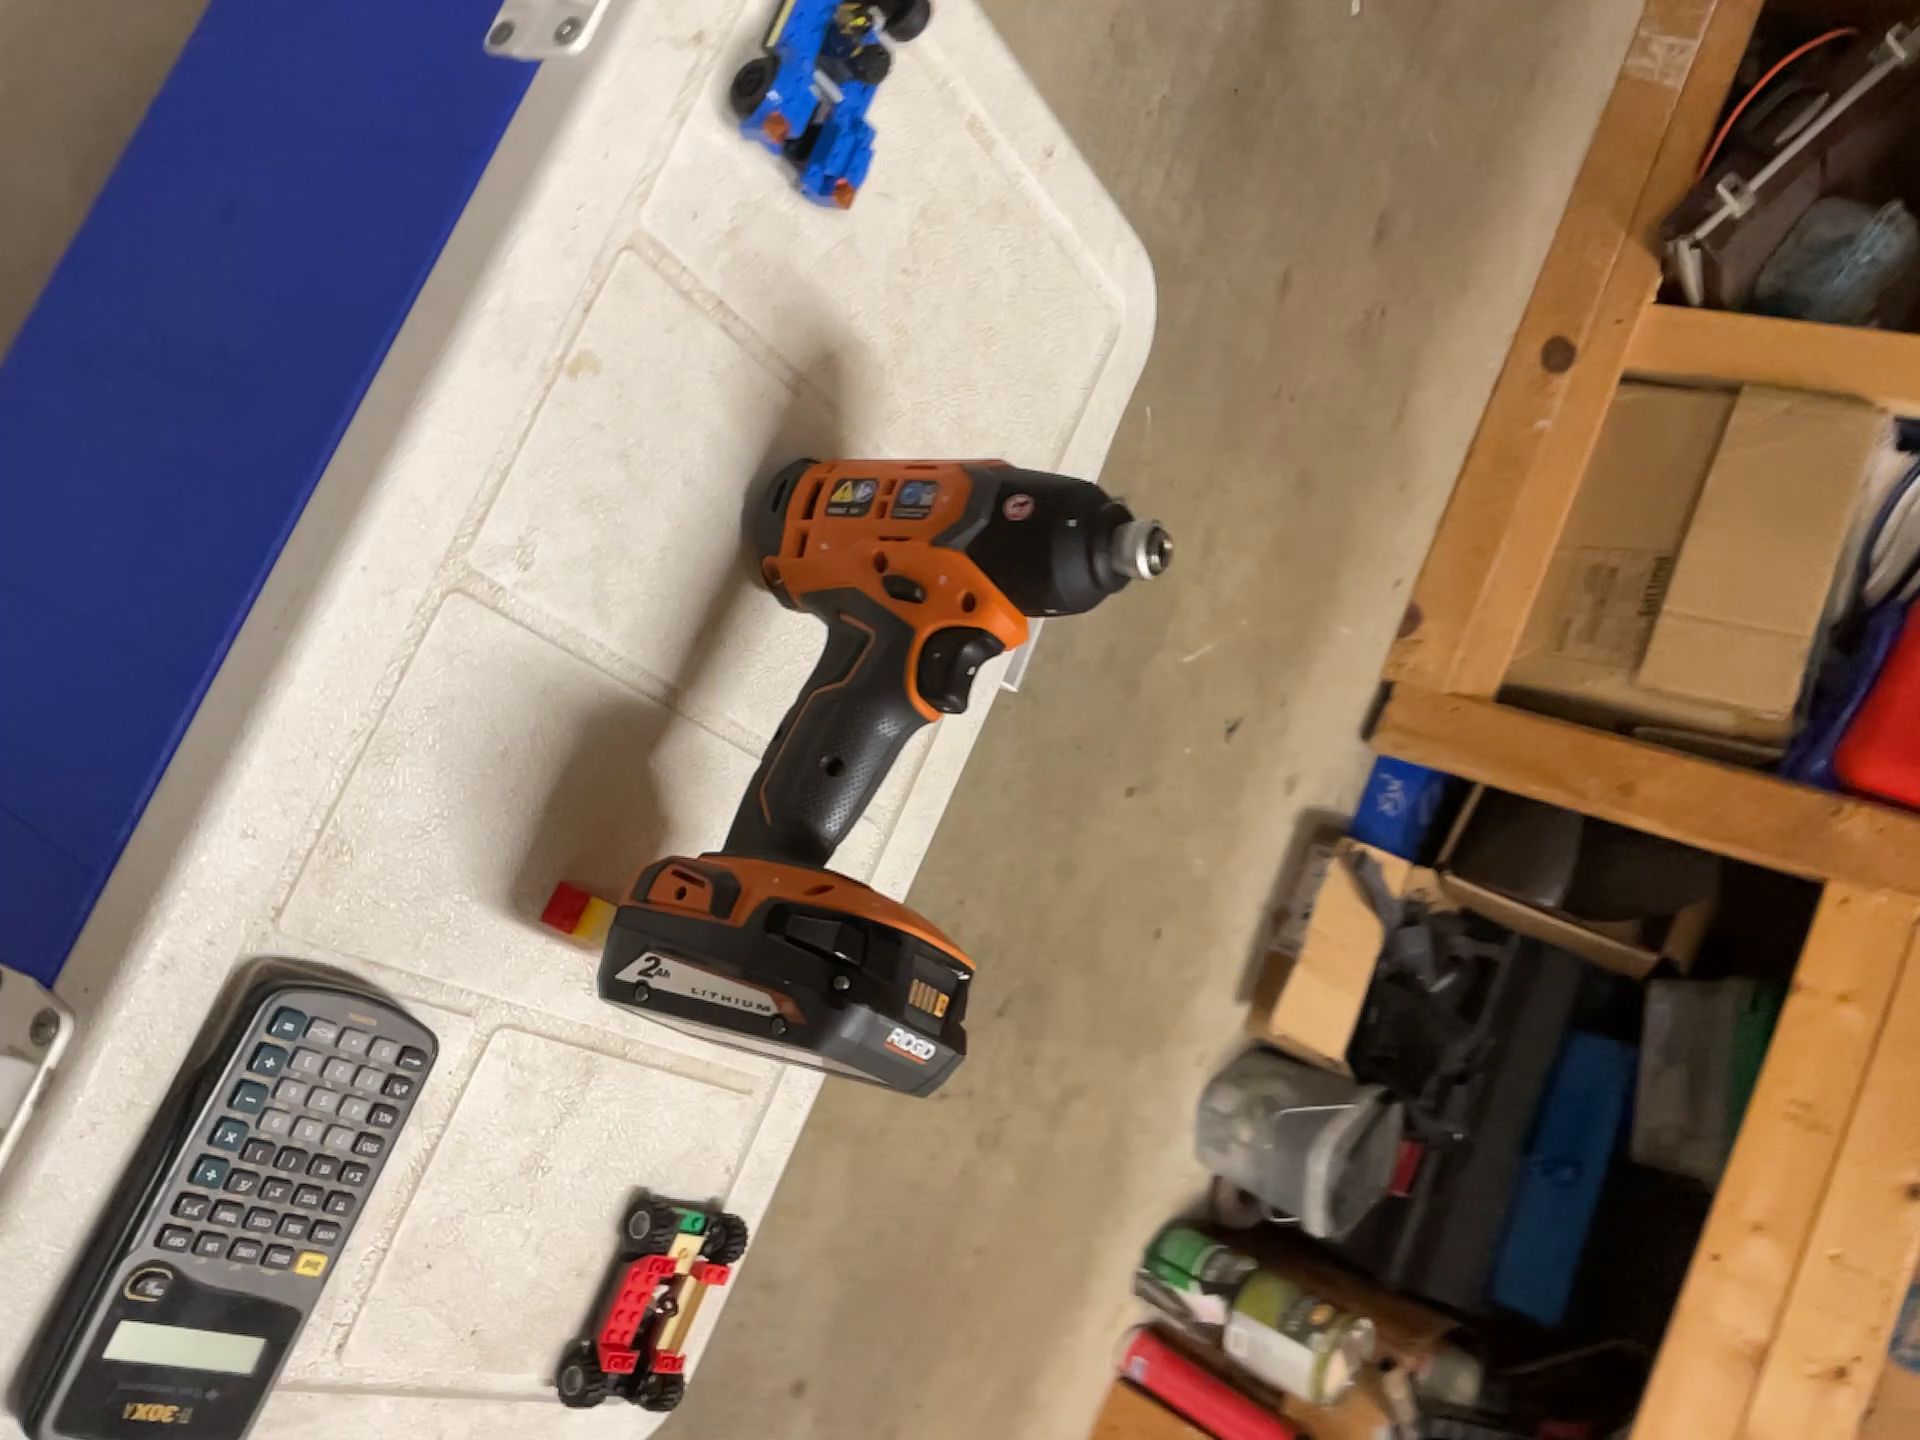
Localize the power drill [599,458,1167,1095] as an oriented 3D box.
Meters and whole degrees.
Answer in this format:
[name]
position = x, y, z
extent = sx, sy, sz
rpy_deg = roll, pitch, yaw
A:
[power drill]
position = -0.023, 0.009, 0.566
extent = 0.084, 0.164, 0.227
rpy_deg = 40, 62, -51
